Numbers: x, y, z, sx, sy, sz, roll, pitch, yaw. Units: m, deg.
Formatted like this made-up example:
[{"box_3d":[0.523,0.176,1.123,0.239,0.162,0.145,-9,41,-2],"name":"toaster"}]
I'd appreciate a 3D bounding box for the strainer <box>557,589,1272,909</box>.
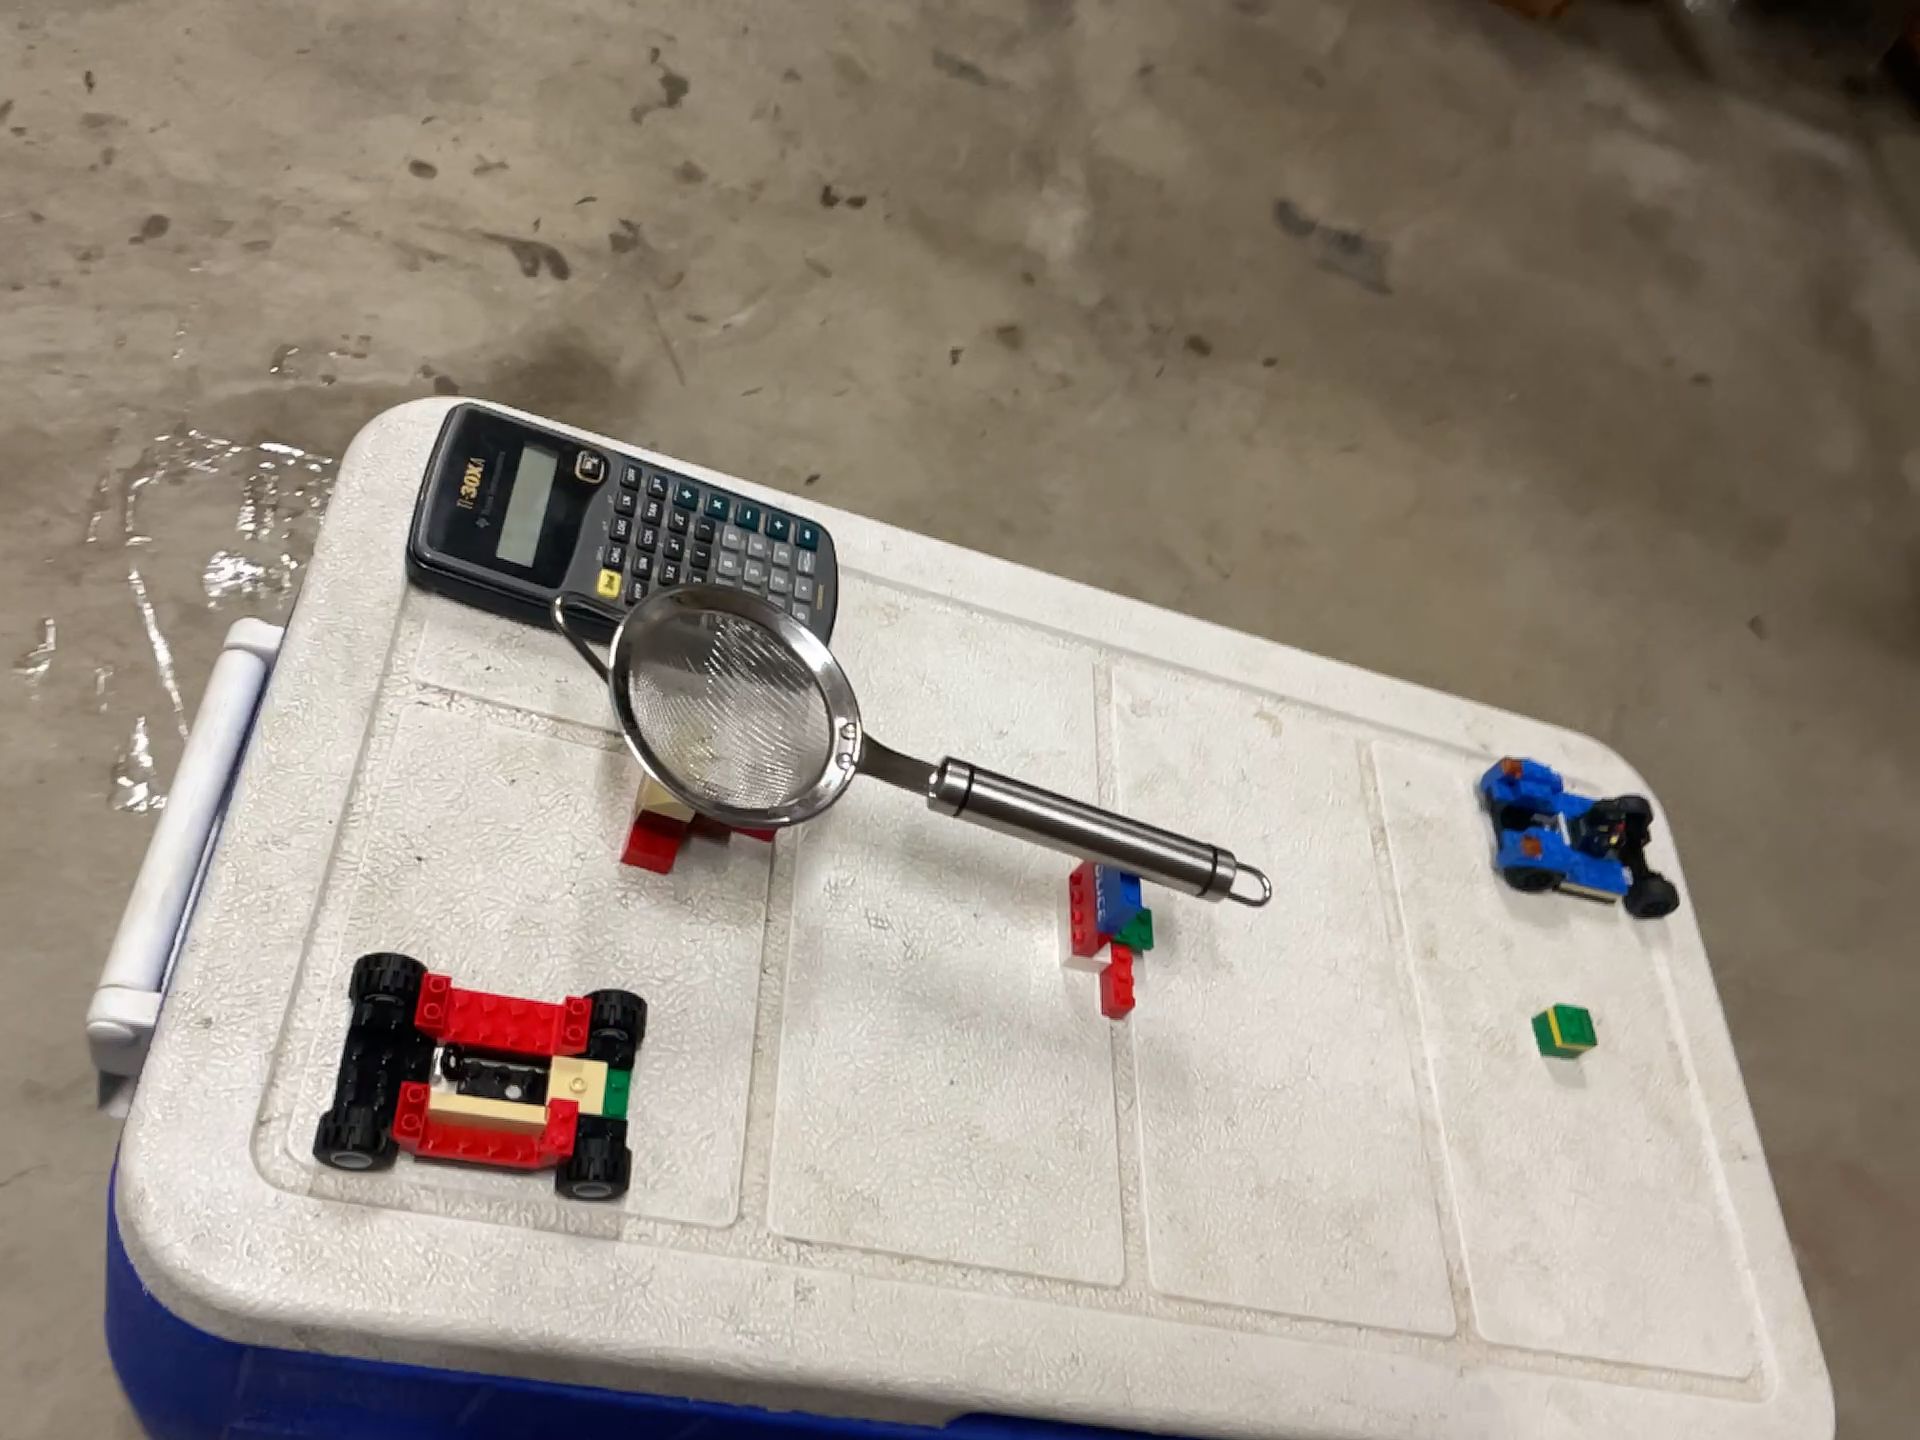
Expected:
[{"box_3d":[-0.010,0.022,0.522,0.258,0.050,0.087,19,52,-16],"name":"strainer"}]
